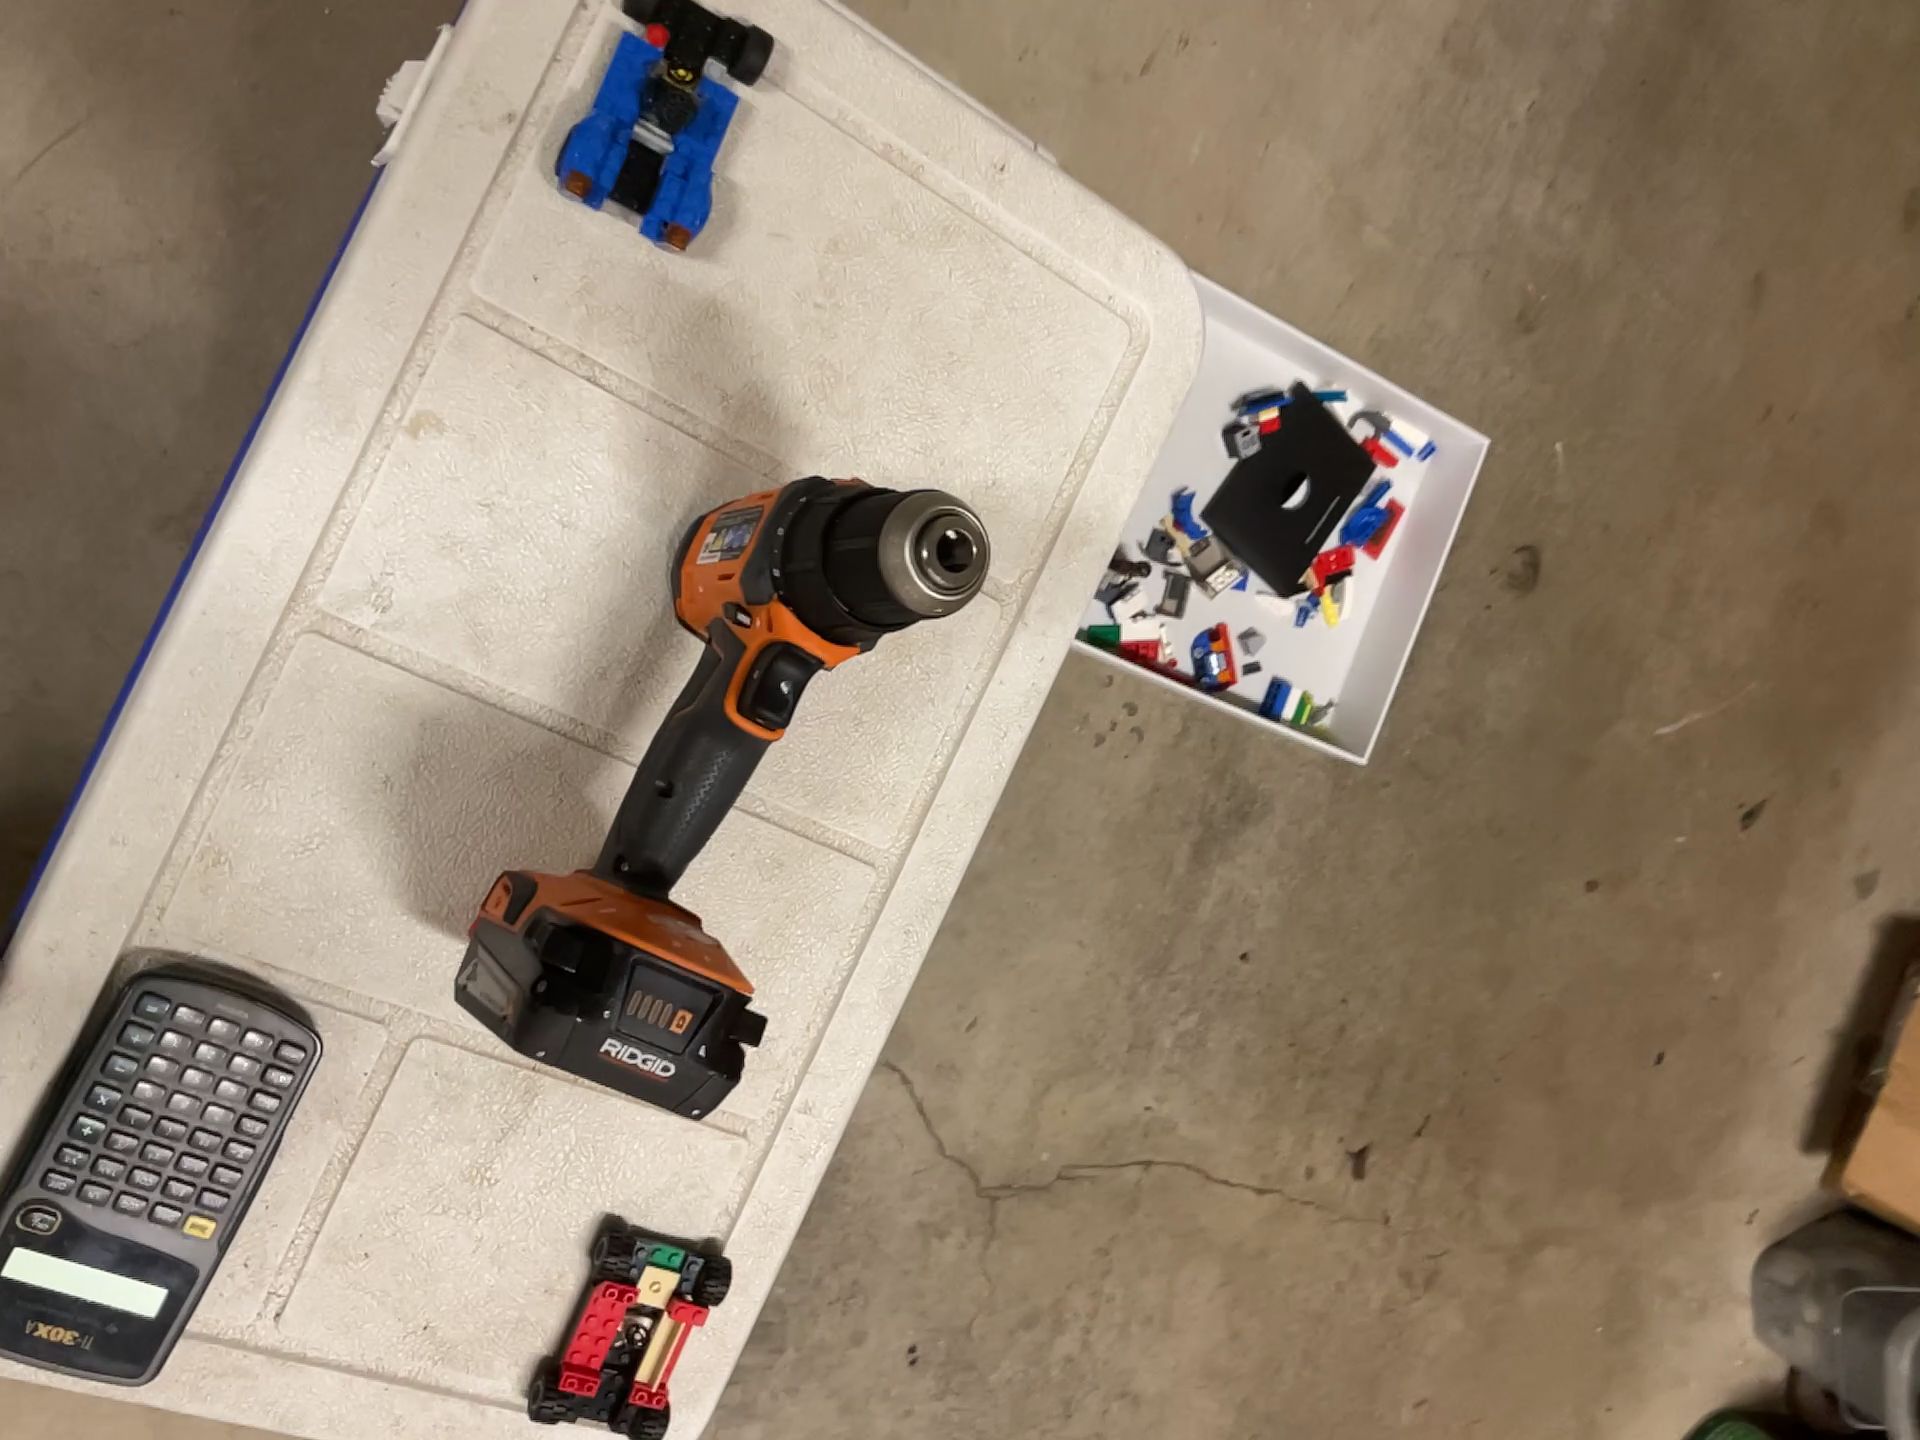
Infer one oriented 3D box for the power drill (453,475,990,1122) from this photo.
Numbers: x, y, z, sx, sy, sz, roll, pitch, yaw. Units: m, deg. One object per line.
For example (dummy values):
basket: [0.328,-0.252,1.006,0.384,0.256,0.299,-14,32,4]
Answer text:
power drill: [-0.079,0.017,0.555,0.084,0.185,0.226,30,77,-28]
